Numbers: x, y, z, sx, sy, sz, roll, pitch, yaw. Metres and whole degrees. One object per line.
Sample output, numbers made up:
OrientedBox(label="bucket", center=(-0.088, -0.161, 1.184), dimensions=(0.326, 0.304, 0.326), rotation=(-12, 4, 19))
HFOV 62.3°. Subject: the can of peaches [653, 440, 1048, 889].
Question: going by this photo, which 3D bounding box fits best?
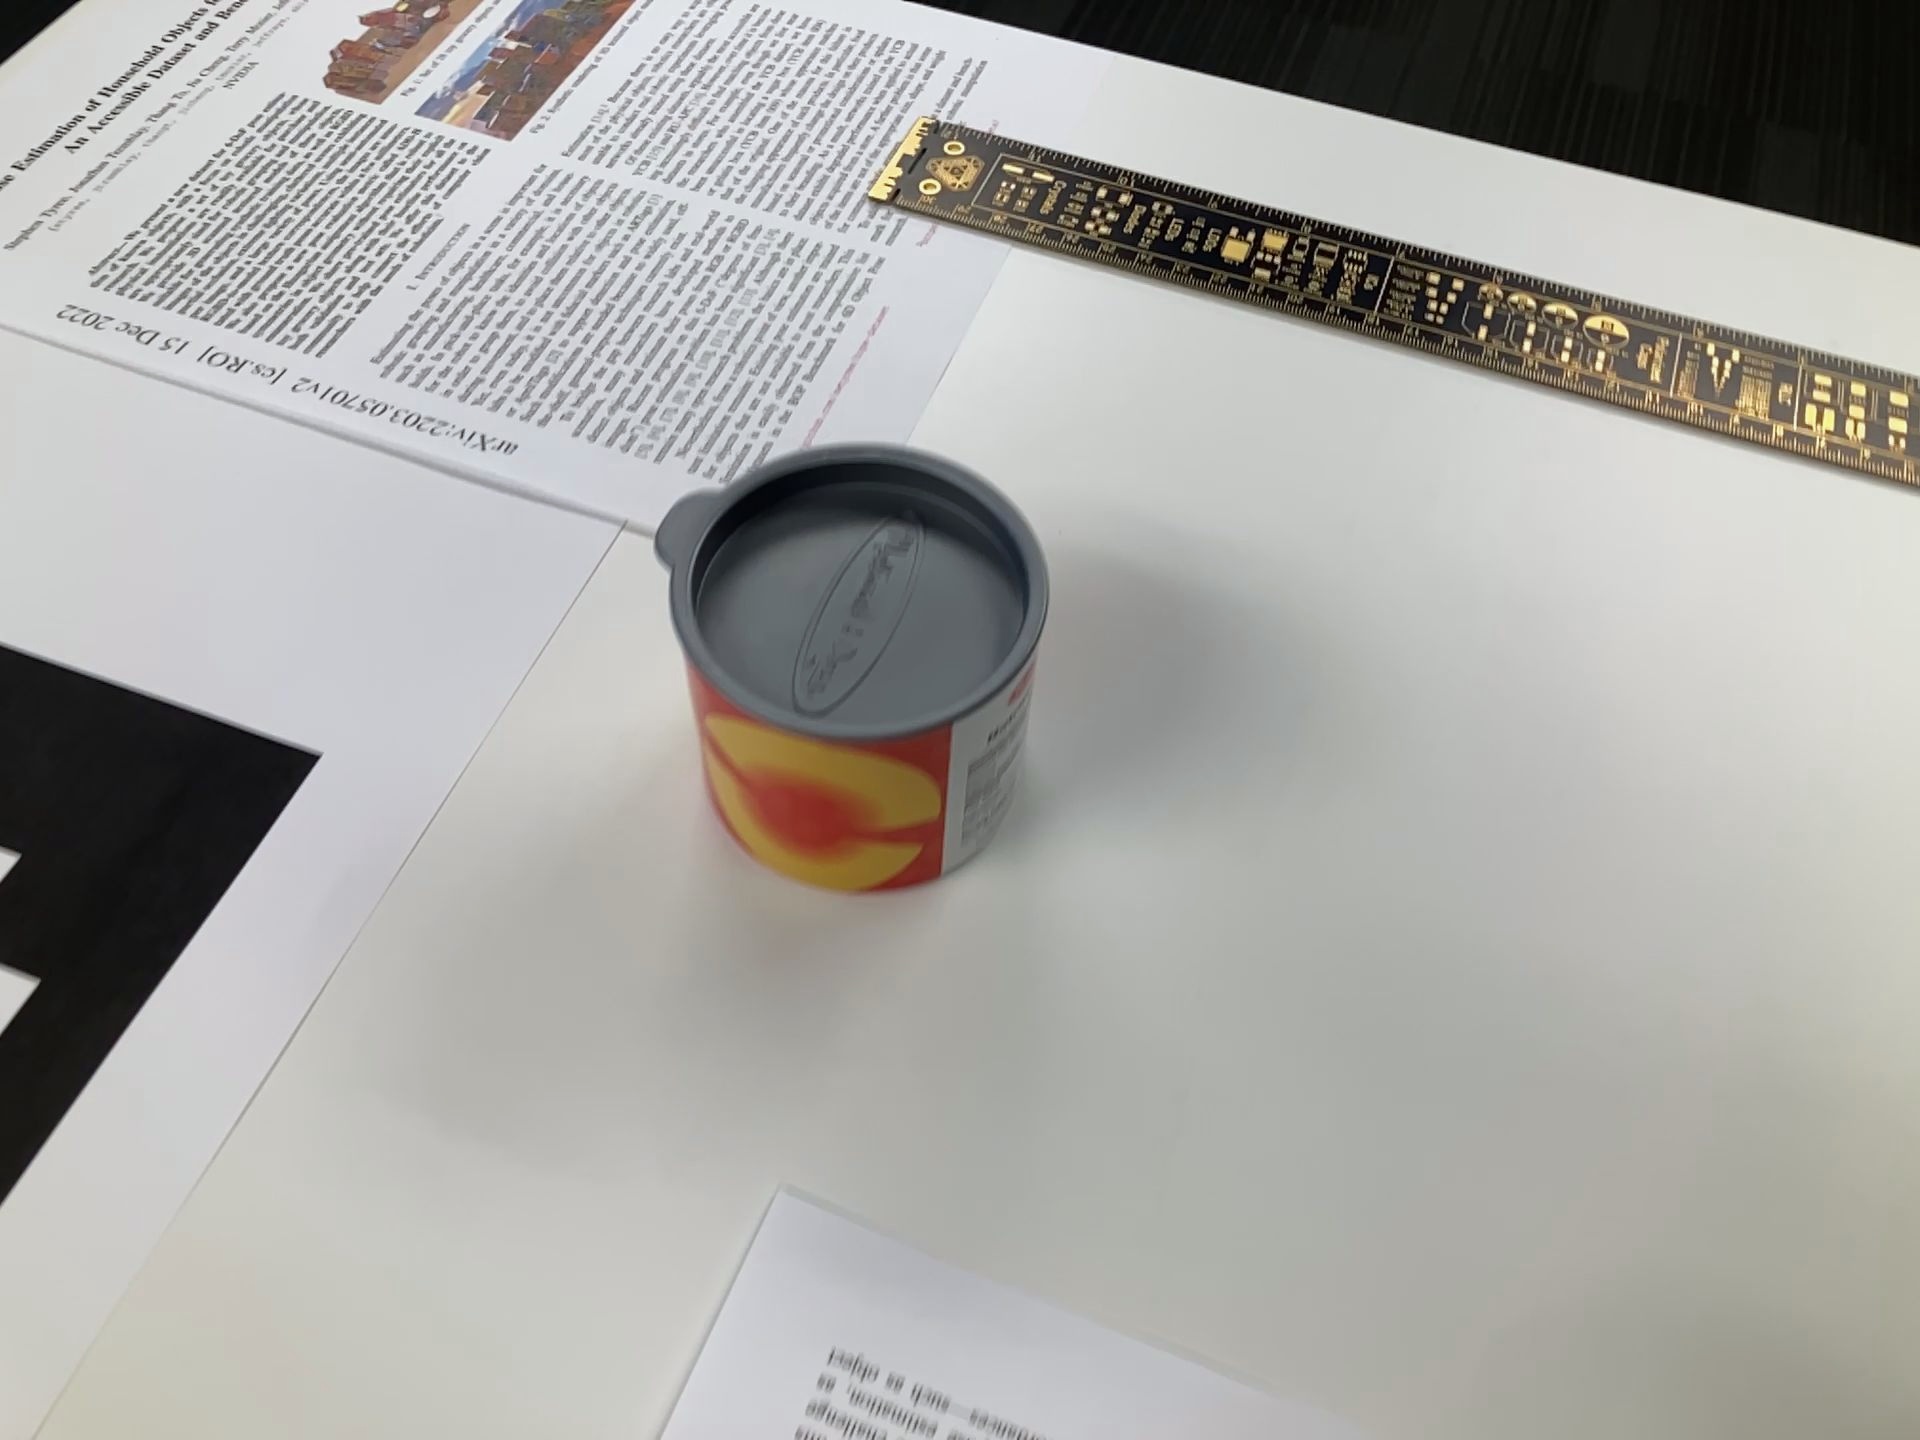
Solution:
OrientedBox(label="can of peaches", center=(-0.021, -0.010, 0.303), dimensions=(0.071, 0.058, 0.071), rotation=(1, 55, -1))
